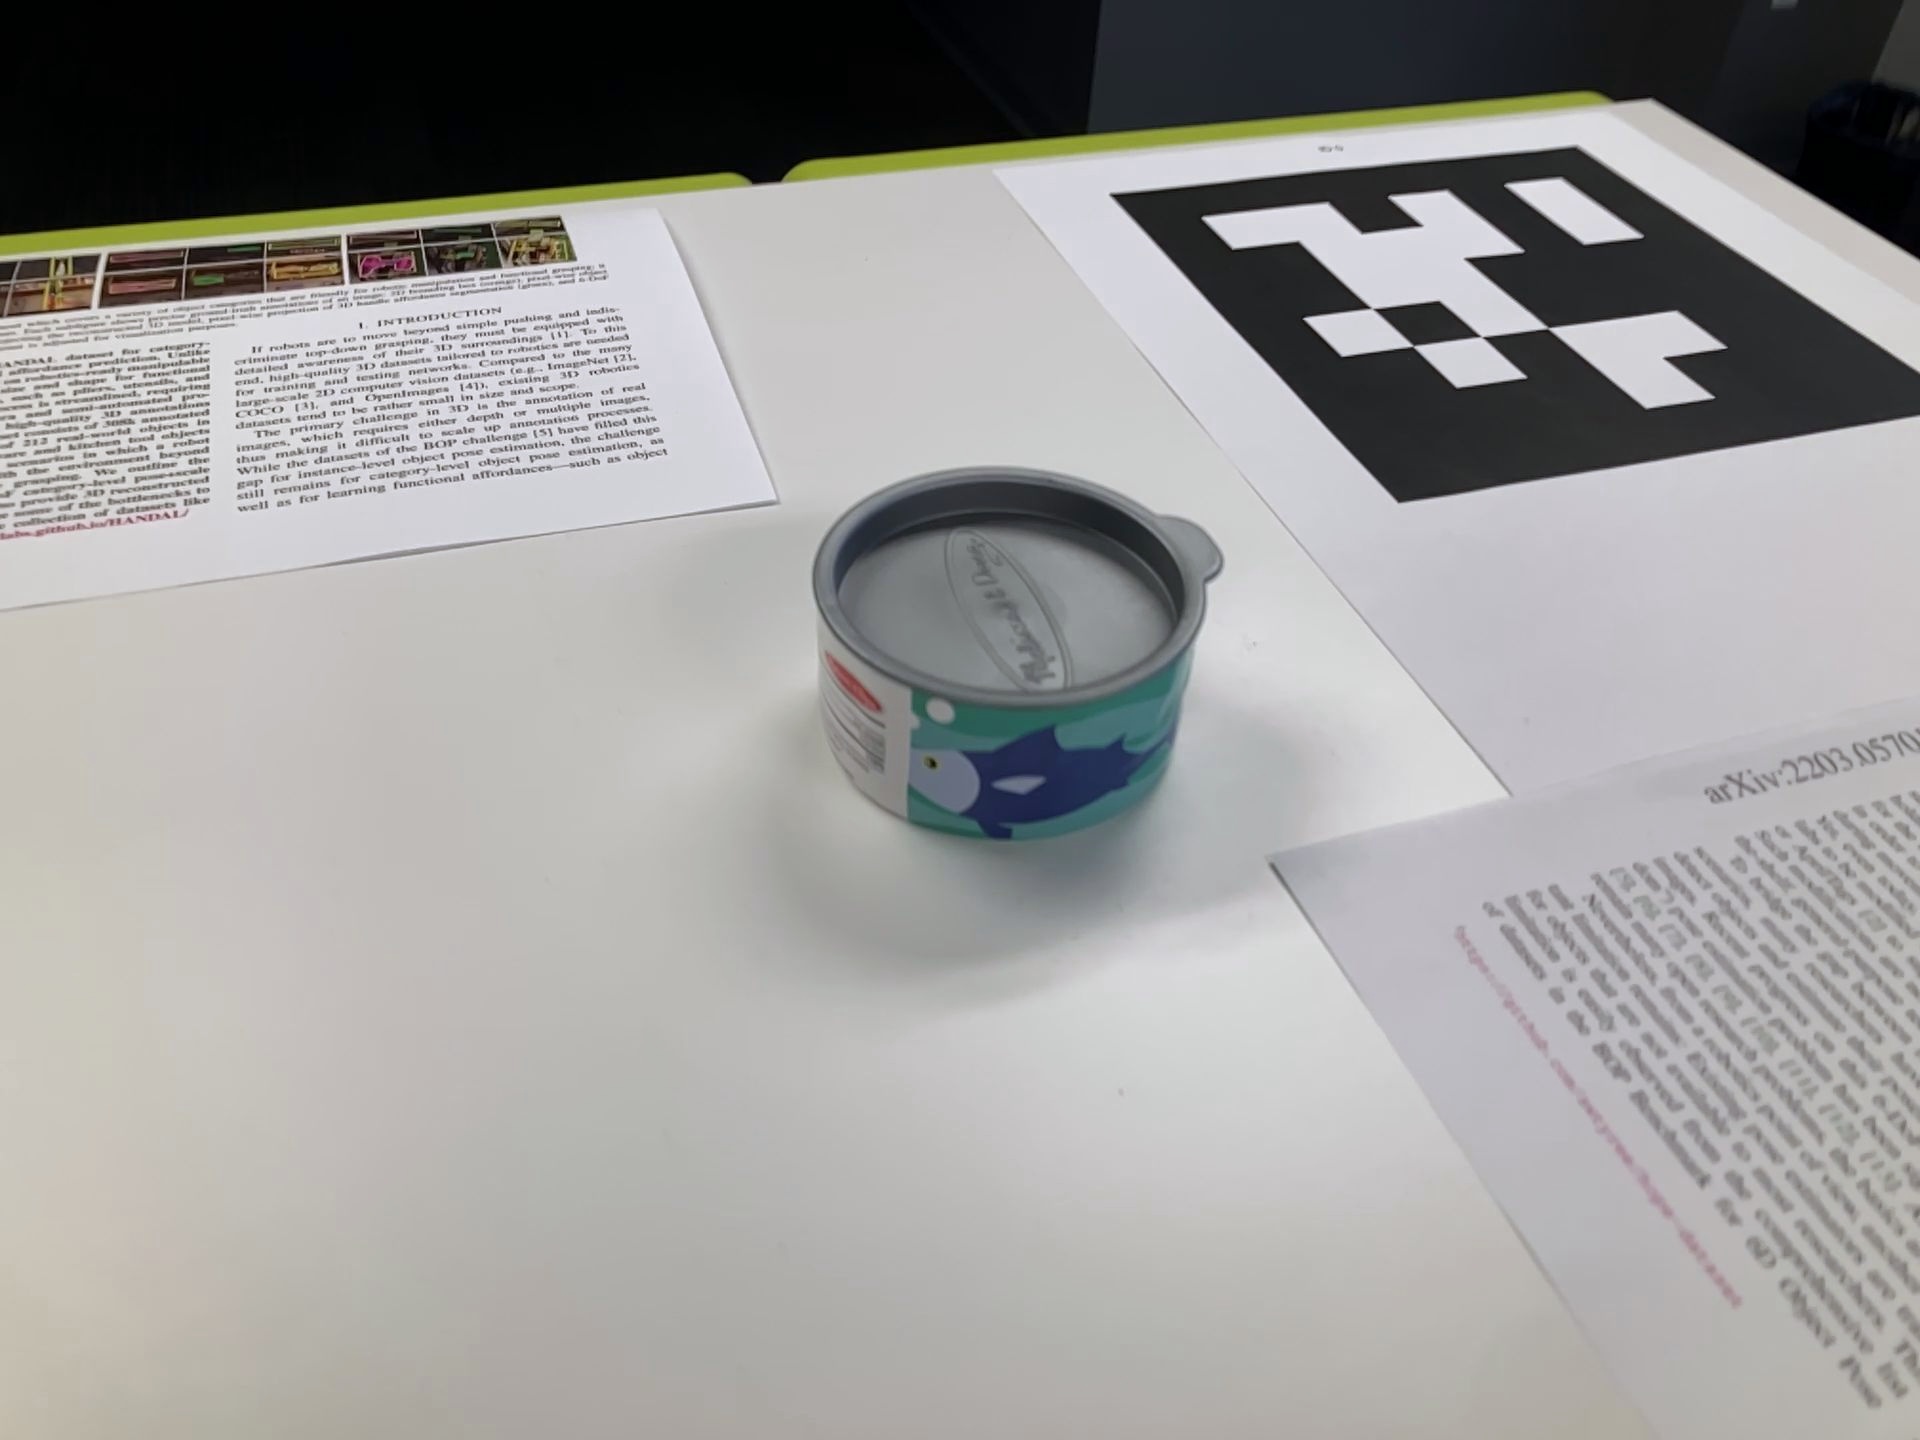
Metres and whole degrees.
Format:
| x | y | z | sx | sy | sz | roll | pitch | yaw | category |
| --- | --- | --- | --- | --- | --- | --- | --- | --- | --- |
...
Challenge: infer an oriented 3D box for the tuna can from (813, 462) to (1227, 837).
| x | y | z | sx | sy | sz | roll | pitch | yaw | category |
| --- | --- | --- | --- | --- | --- | --- | --- | --- | --- |
| 0.010 | -0.014 | 0.276 | 0.071 | 0.033 | 0.071 | 2 | 41 | -2 | tuna can |
